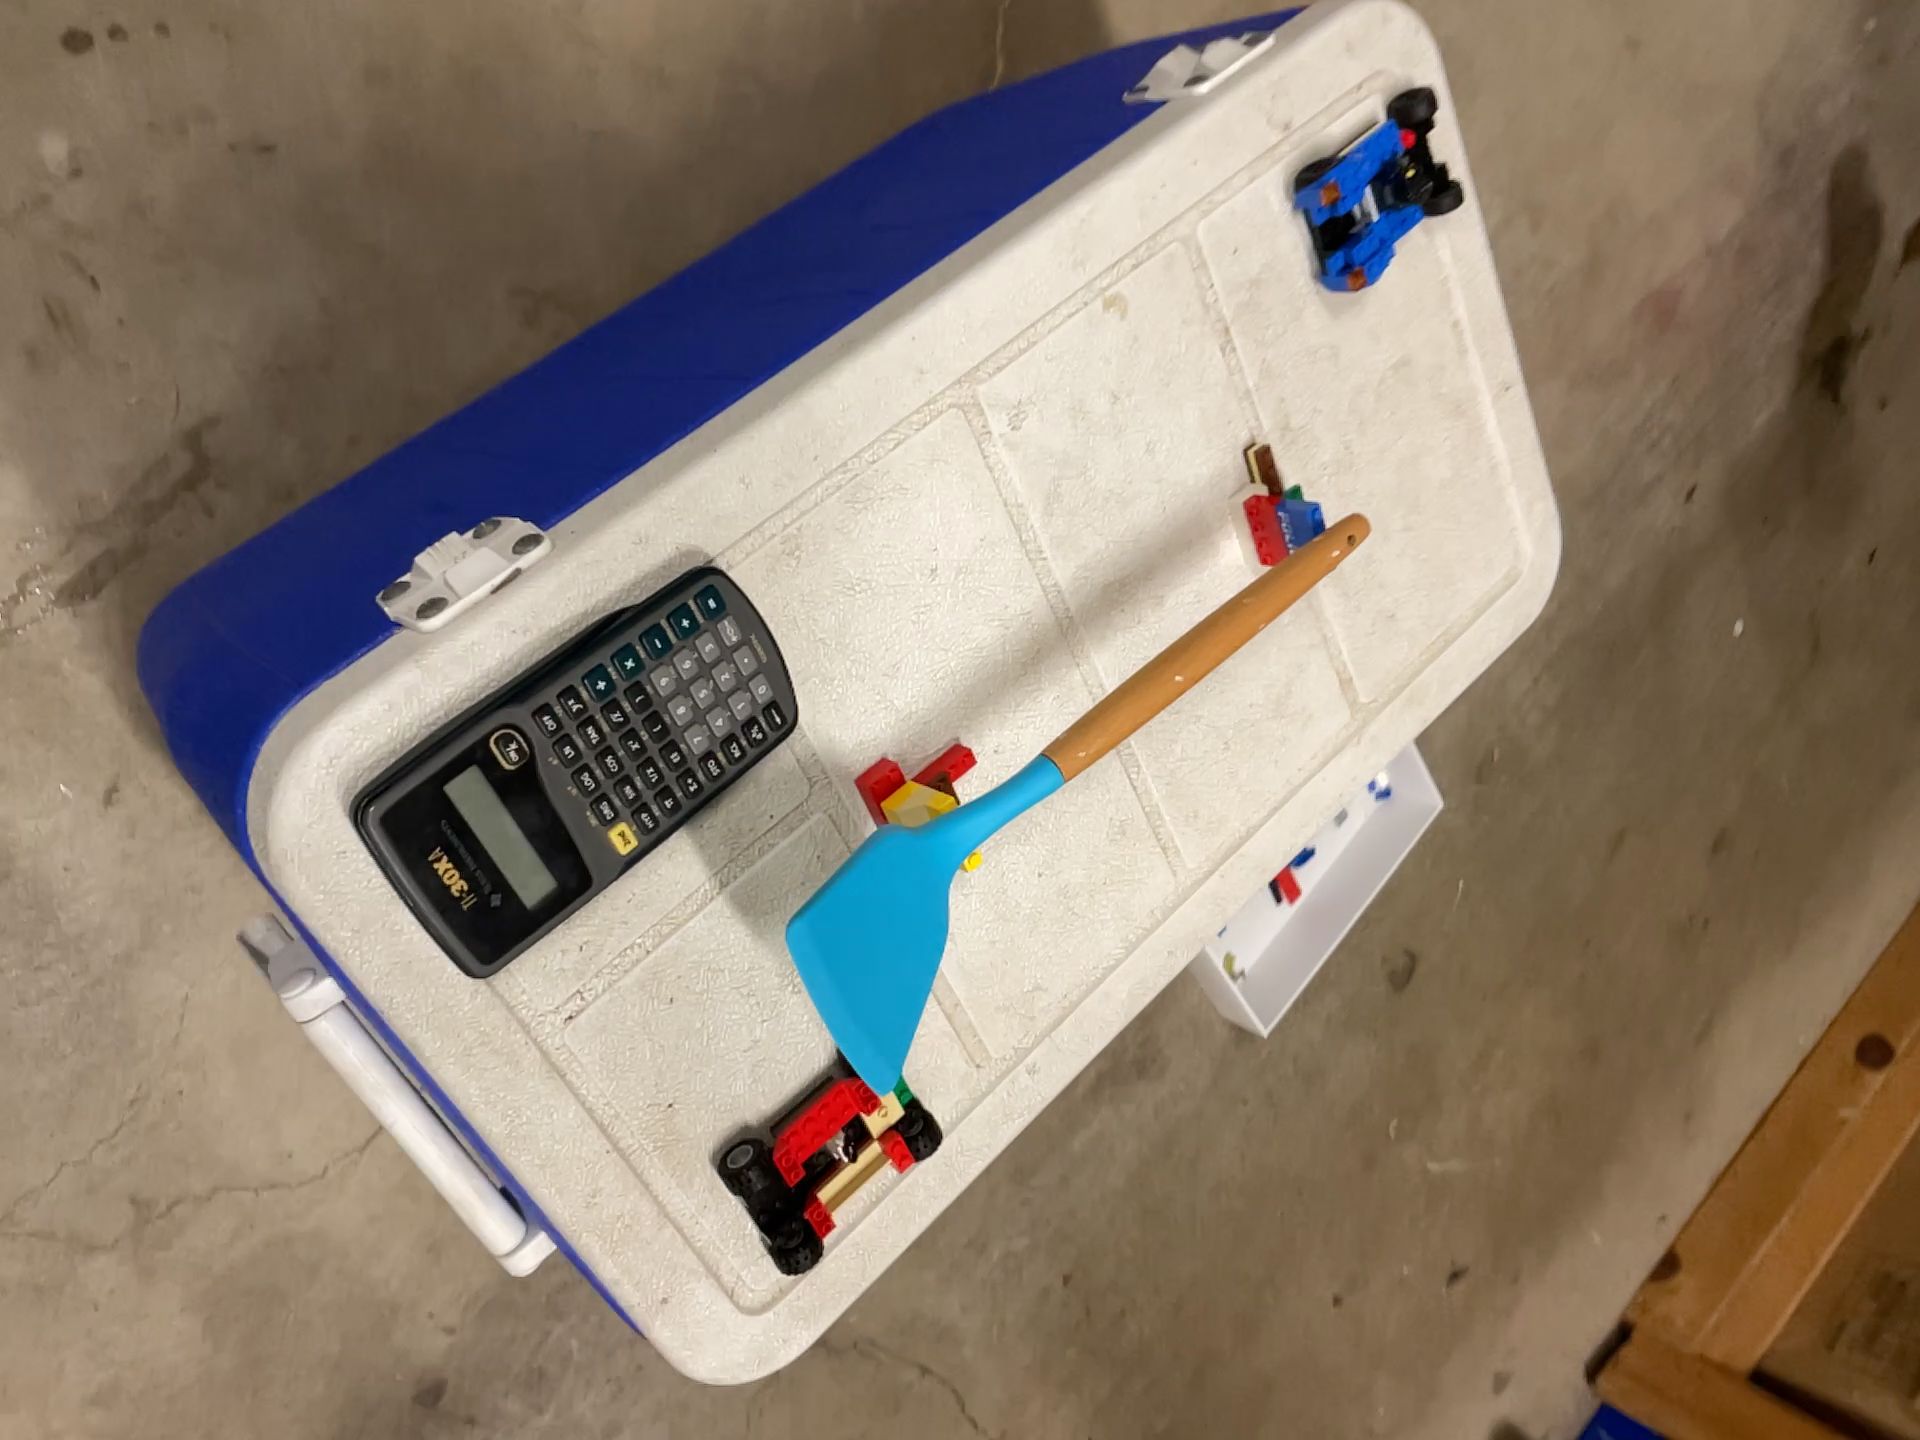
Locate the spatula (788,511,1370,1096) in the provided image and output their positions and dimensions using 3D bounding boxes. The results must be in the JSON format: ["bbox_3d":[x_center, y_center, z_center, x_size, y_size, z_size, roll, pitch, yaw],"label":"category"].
[{"bbox_3d":[0.061,0.007,0.607,0.318,0.044,0.082,-38,118,-23],"label":"spatula"}]
